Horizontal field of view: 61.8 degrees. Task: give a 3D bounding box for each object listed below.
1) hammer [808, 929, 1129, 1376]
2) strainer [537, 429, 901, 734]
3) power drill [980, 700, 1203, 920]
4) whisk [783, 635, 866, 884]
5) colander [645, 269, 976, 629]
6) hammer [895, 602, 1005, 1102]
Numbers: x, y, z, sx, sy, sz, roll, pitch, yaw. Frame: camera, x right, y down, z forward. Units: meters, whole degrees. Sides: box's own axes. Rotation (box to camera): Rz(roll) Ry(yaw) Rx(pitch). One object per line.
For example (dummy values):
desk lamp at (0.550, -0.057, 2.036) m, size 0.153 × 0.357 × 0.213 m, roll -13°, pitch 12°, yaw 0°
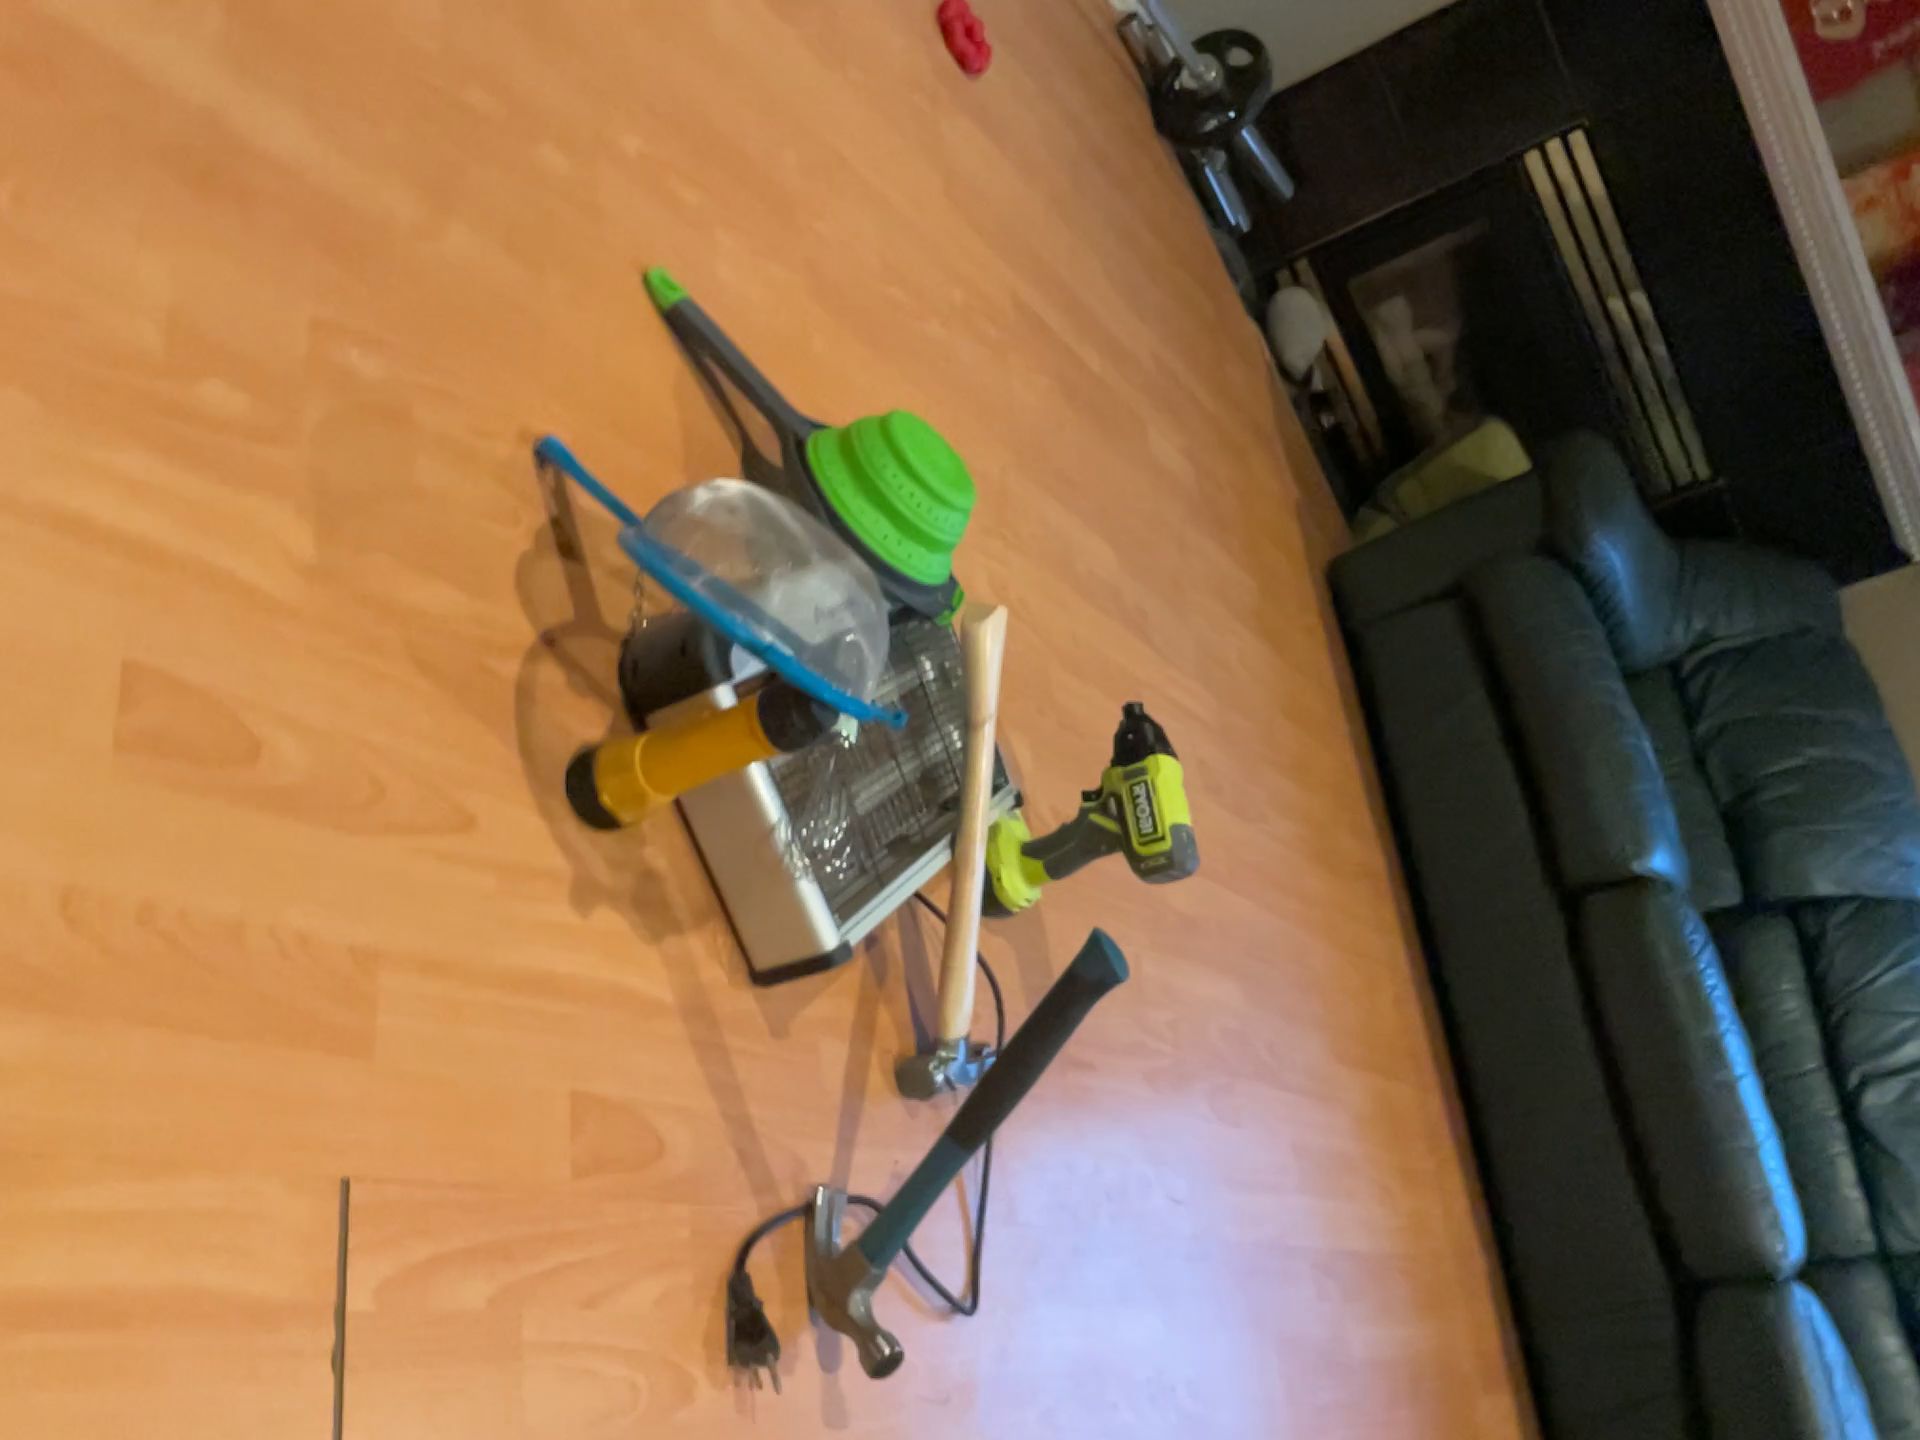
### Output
hammer at (0.009, 0.289, 1.131) m, size 0.128 × 0.331 × 0.033 m, roll 39°, pitch 2°, yaw 42°
strainer at (-0.165, -0.133, 1.109) m, size 0.340 × 0.095 × 0.211 m, roll 41°, pitch 4°, yaw 24°
power drill at (0.107, 0.089, 1.508) m, size 0.080 × 0.223 × 0.171 m, roll 23°, pitch 52°, yaw -56°
whisk at (-0.093, 0.023, 1.206) m, size 0.058 × 0.059 × 0.246 m, roll 22°, pitch 43°, yaw -18°
colander at (-0.109, -0.261, 1.393) m, size 0.397 × 0.094 × 0.205 m, roll 47°, pitch 24°, yaw -7°
hammer at (0.012, 0.107, 1.358) m, size 0.146 × 0.038 × 0.410 m, roll -2°, pitch 98°, yaw -61°
